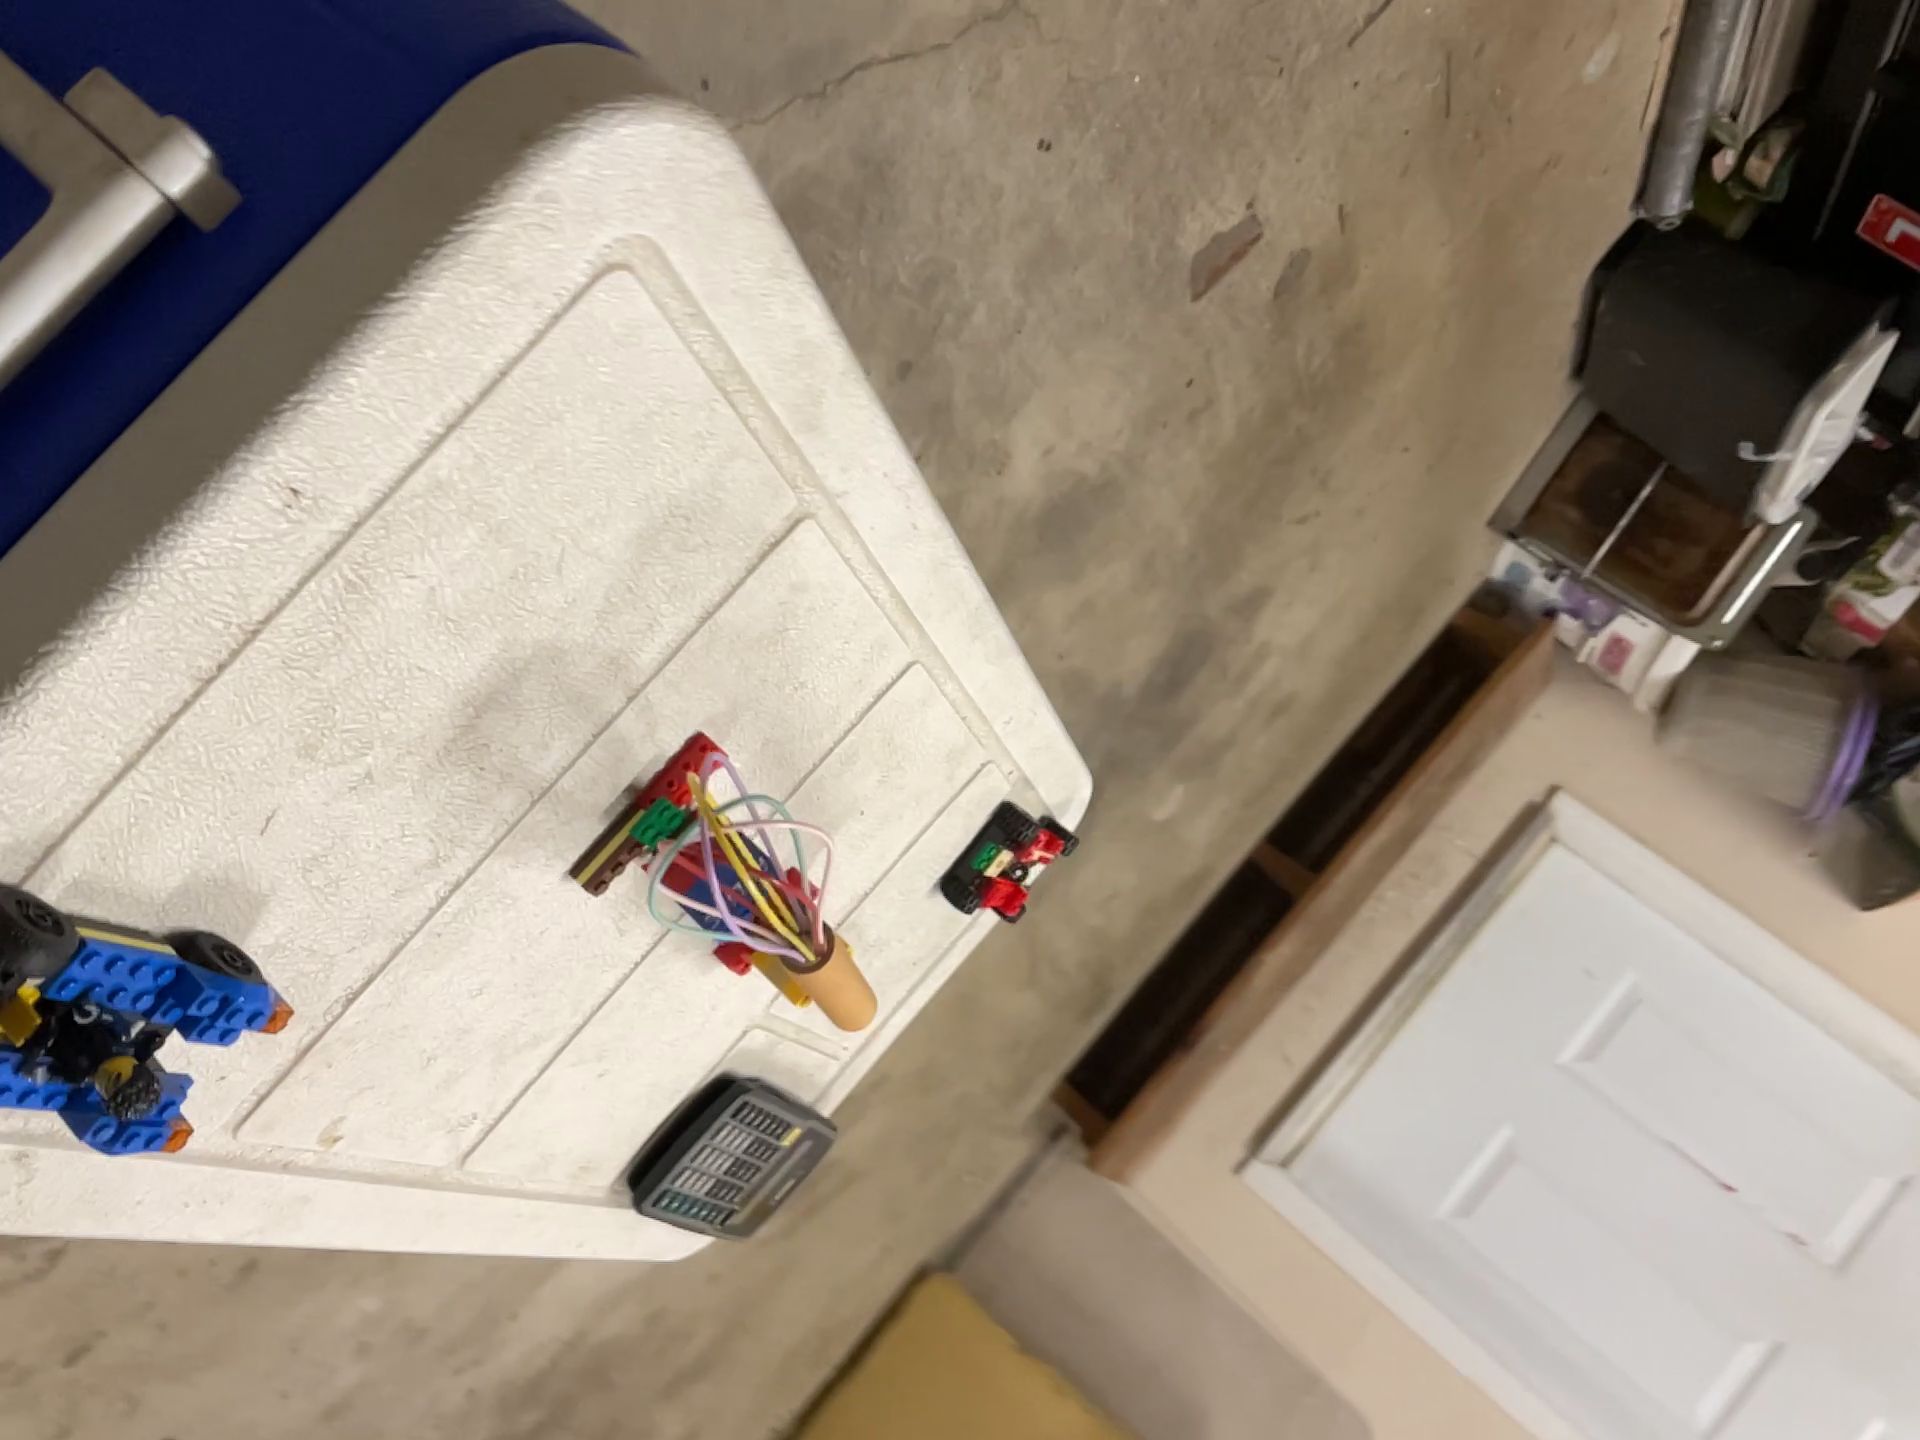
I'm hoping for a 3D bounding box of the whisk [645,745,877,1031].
[{"bbox_3d":[-0.056,0.073,0.534,0.051,0.047,0.245,-57,163,-16],"label":"whisk"}]
